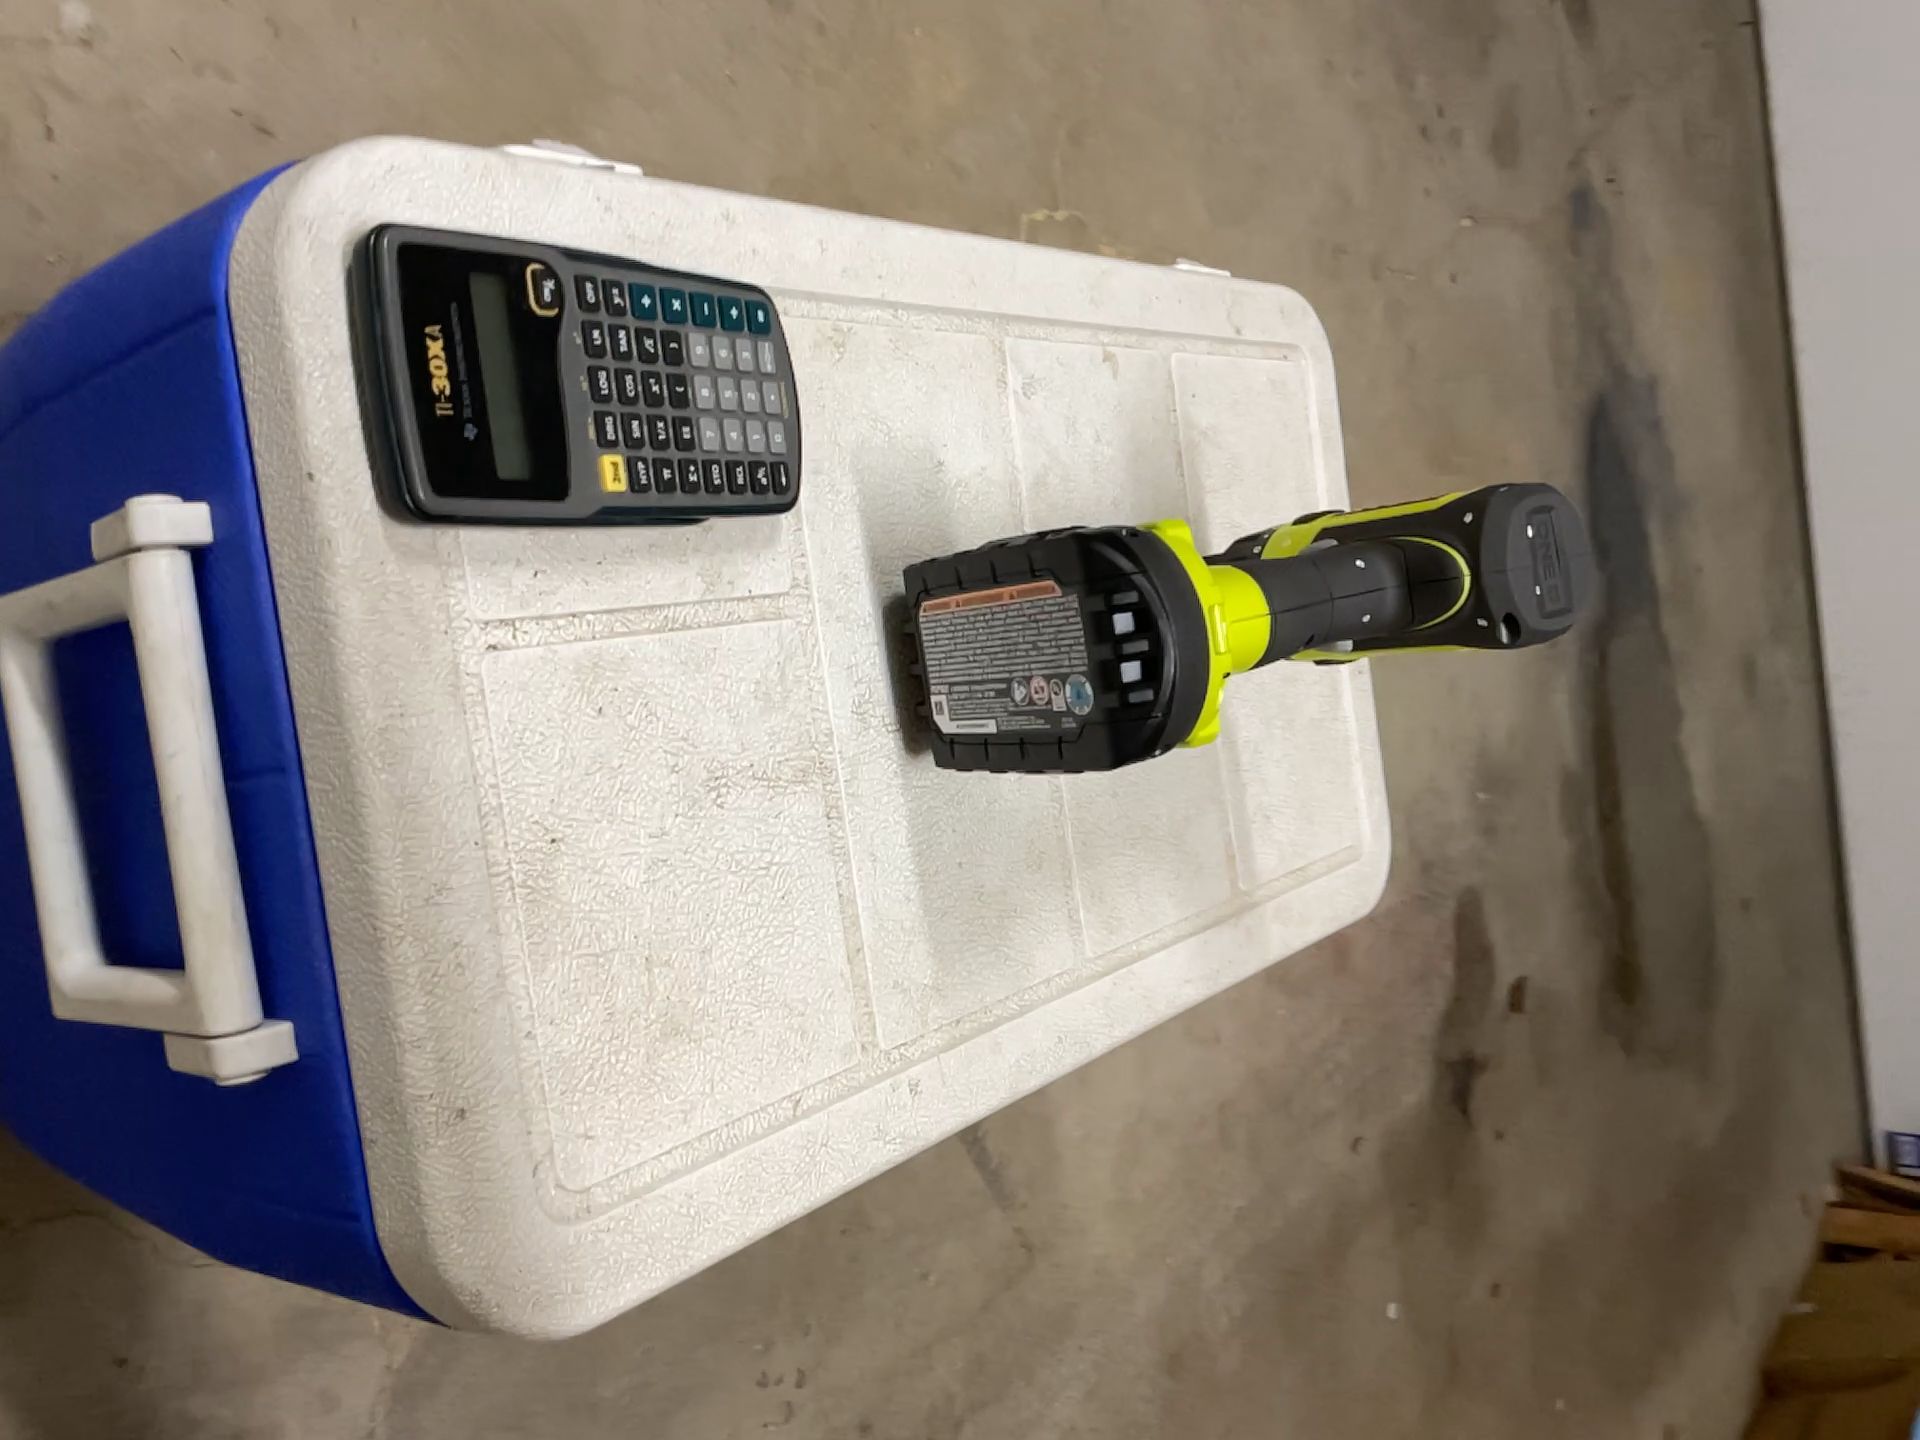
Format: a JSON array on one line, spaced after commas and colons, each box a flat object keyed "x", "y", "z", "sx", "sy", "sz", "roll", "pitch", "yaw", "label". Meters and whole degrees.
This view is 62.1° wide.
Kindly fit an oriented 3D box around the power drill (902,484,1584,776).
[{"x": 0.094, "y": -0.040, "z": 0.611, "sx": 0.229, "sy": 0.190, "sz": 0.080, "roll": -13, "pitch": 96, "yaw": -36, "label": "power drill"}]
